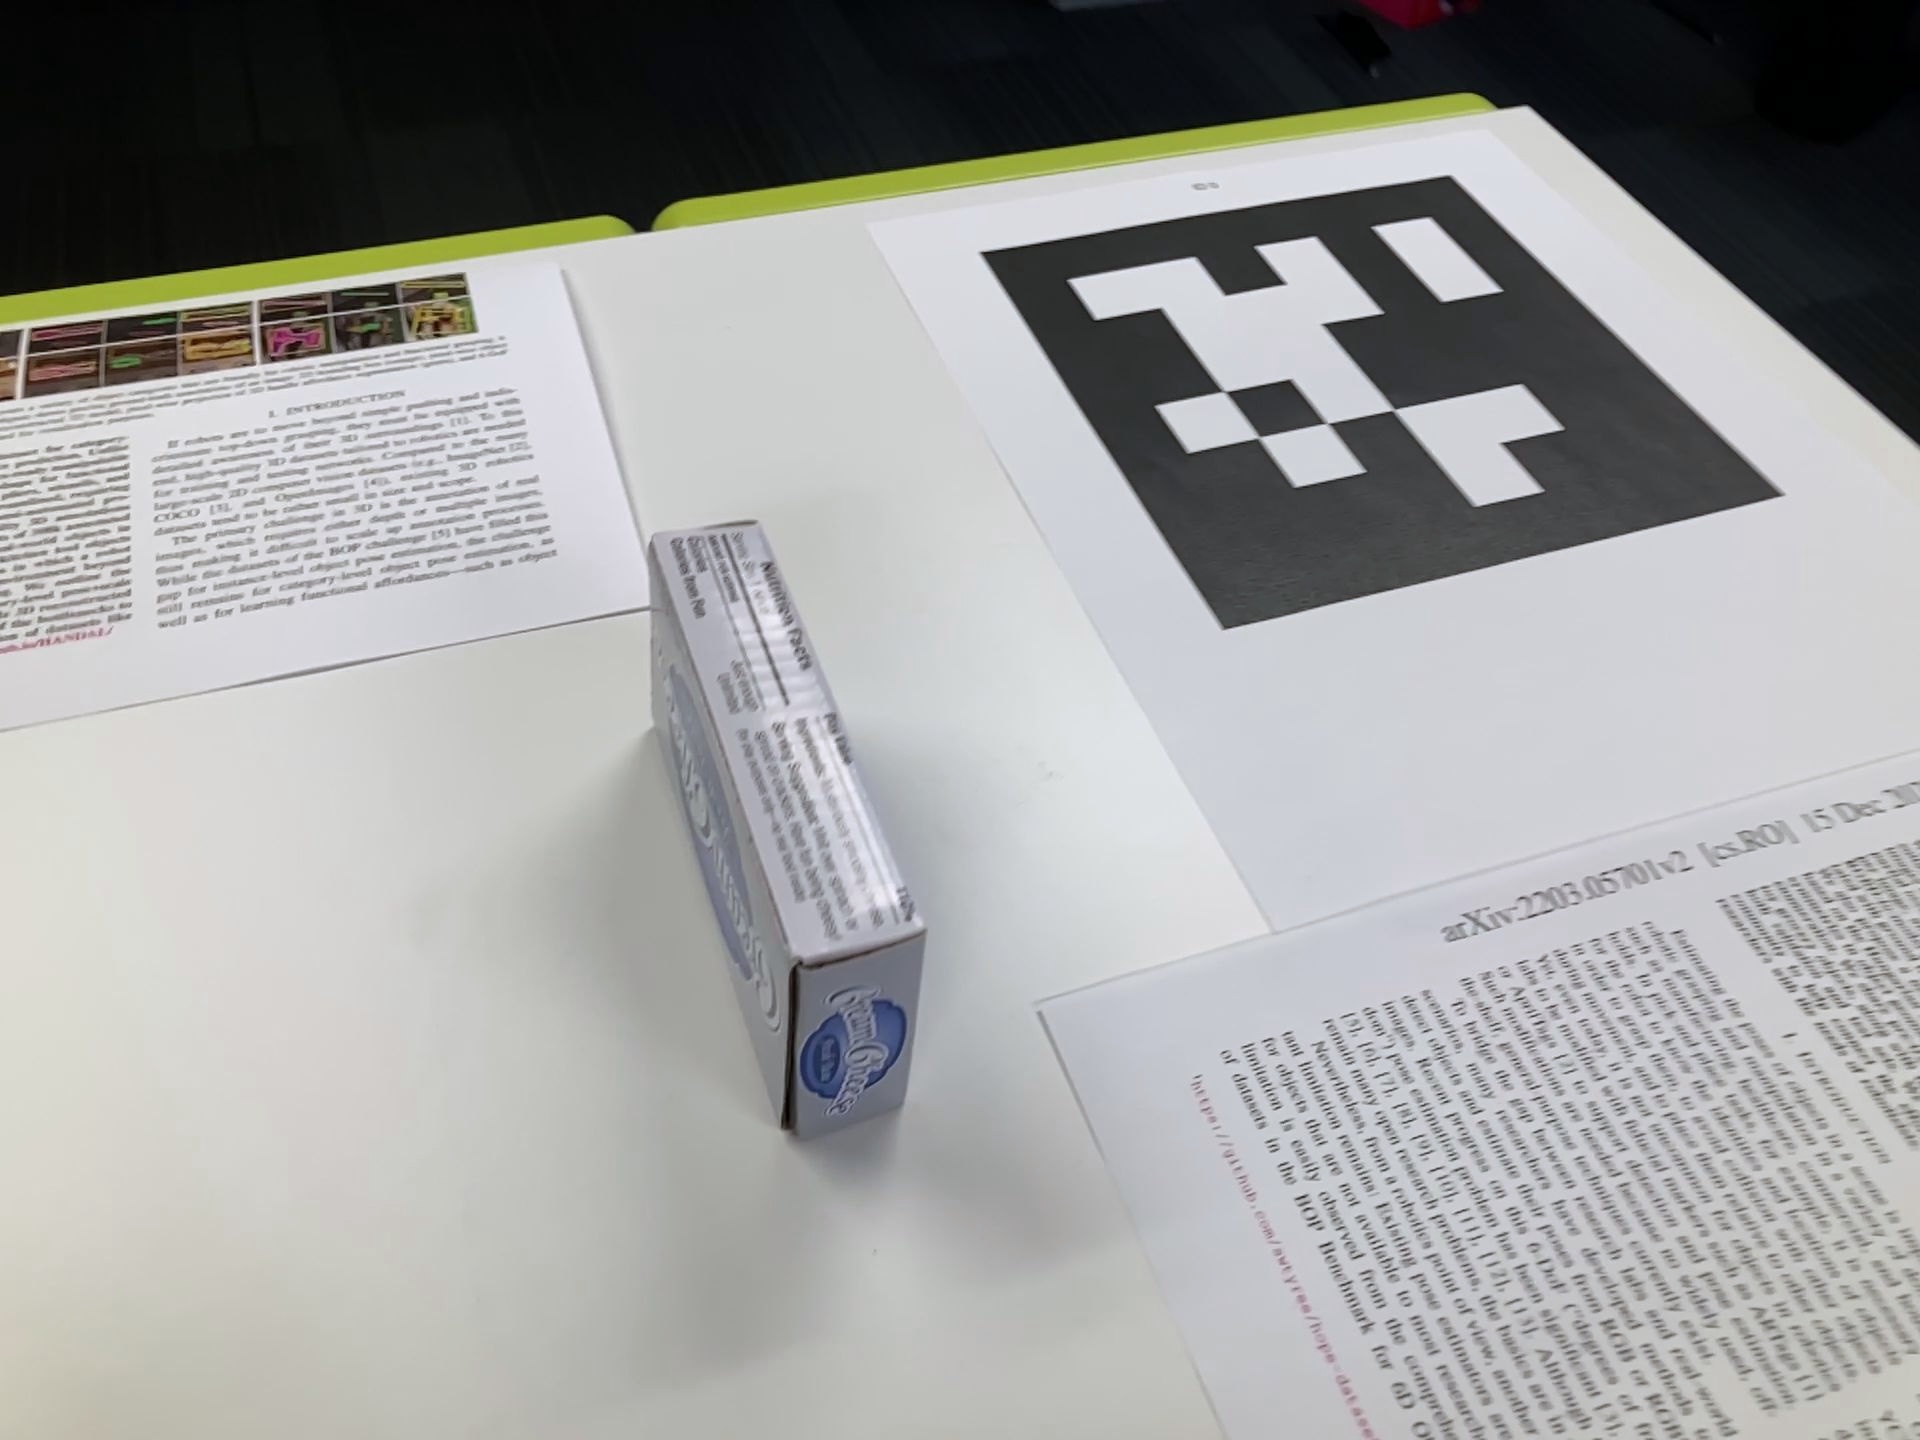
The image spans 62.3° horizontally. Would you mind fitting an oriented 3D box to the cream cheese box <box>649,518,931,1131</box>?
[{"bbox_3d":[-0.035,0.016,0.292,0.024,0.053,0.104,-12,51,-17],"label":"cream cheese box"}]
